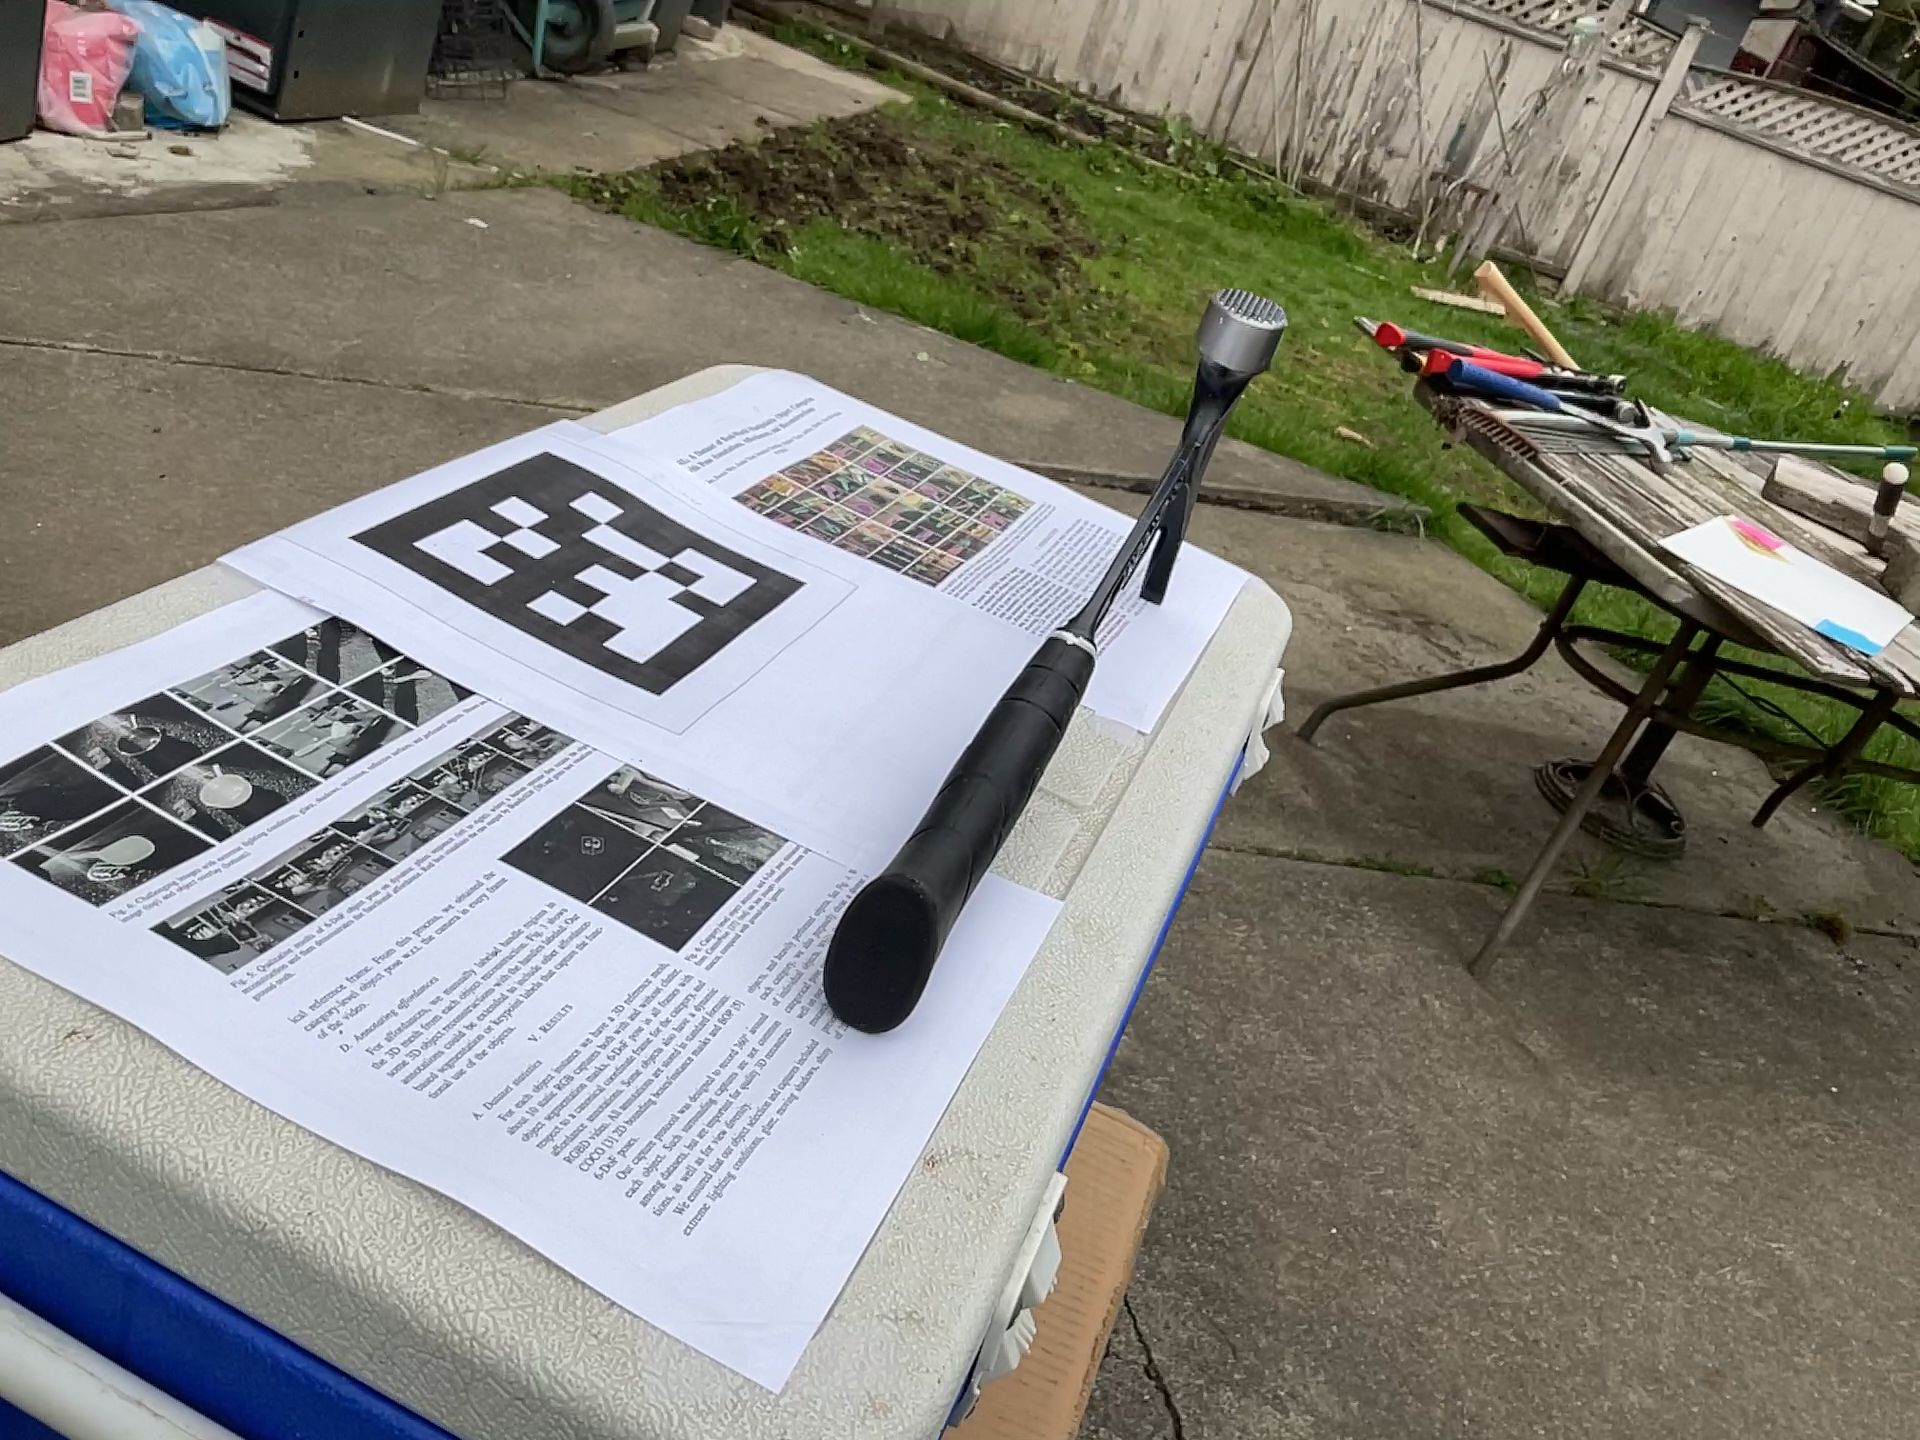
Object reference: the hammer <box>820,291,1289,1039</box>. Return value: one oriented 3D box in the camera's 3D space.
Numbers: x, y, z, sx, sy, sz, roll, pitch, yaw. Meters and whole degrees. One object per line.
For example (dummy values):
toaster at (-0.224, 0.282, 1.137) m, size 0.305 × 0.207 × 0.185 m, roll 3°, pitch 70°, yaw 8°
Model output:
hammer at (0.043, -0.029, 0.593) m, size 0.036 × 0.149 × 0.409 m, roll 25°, pitch 38°, yaw 7°
